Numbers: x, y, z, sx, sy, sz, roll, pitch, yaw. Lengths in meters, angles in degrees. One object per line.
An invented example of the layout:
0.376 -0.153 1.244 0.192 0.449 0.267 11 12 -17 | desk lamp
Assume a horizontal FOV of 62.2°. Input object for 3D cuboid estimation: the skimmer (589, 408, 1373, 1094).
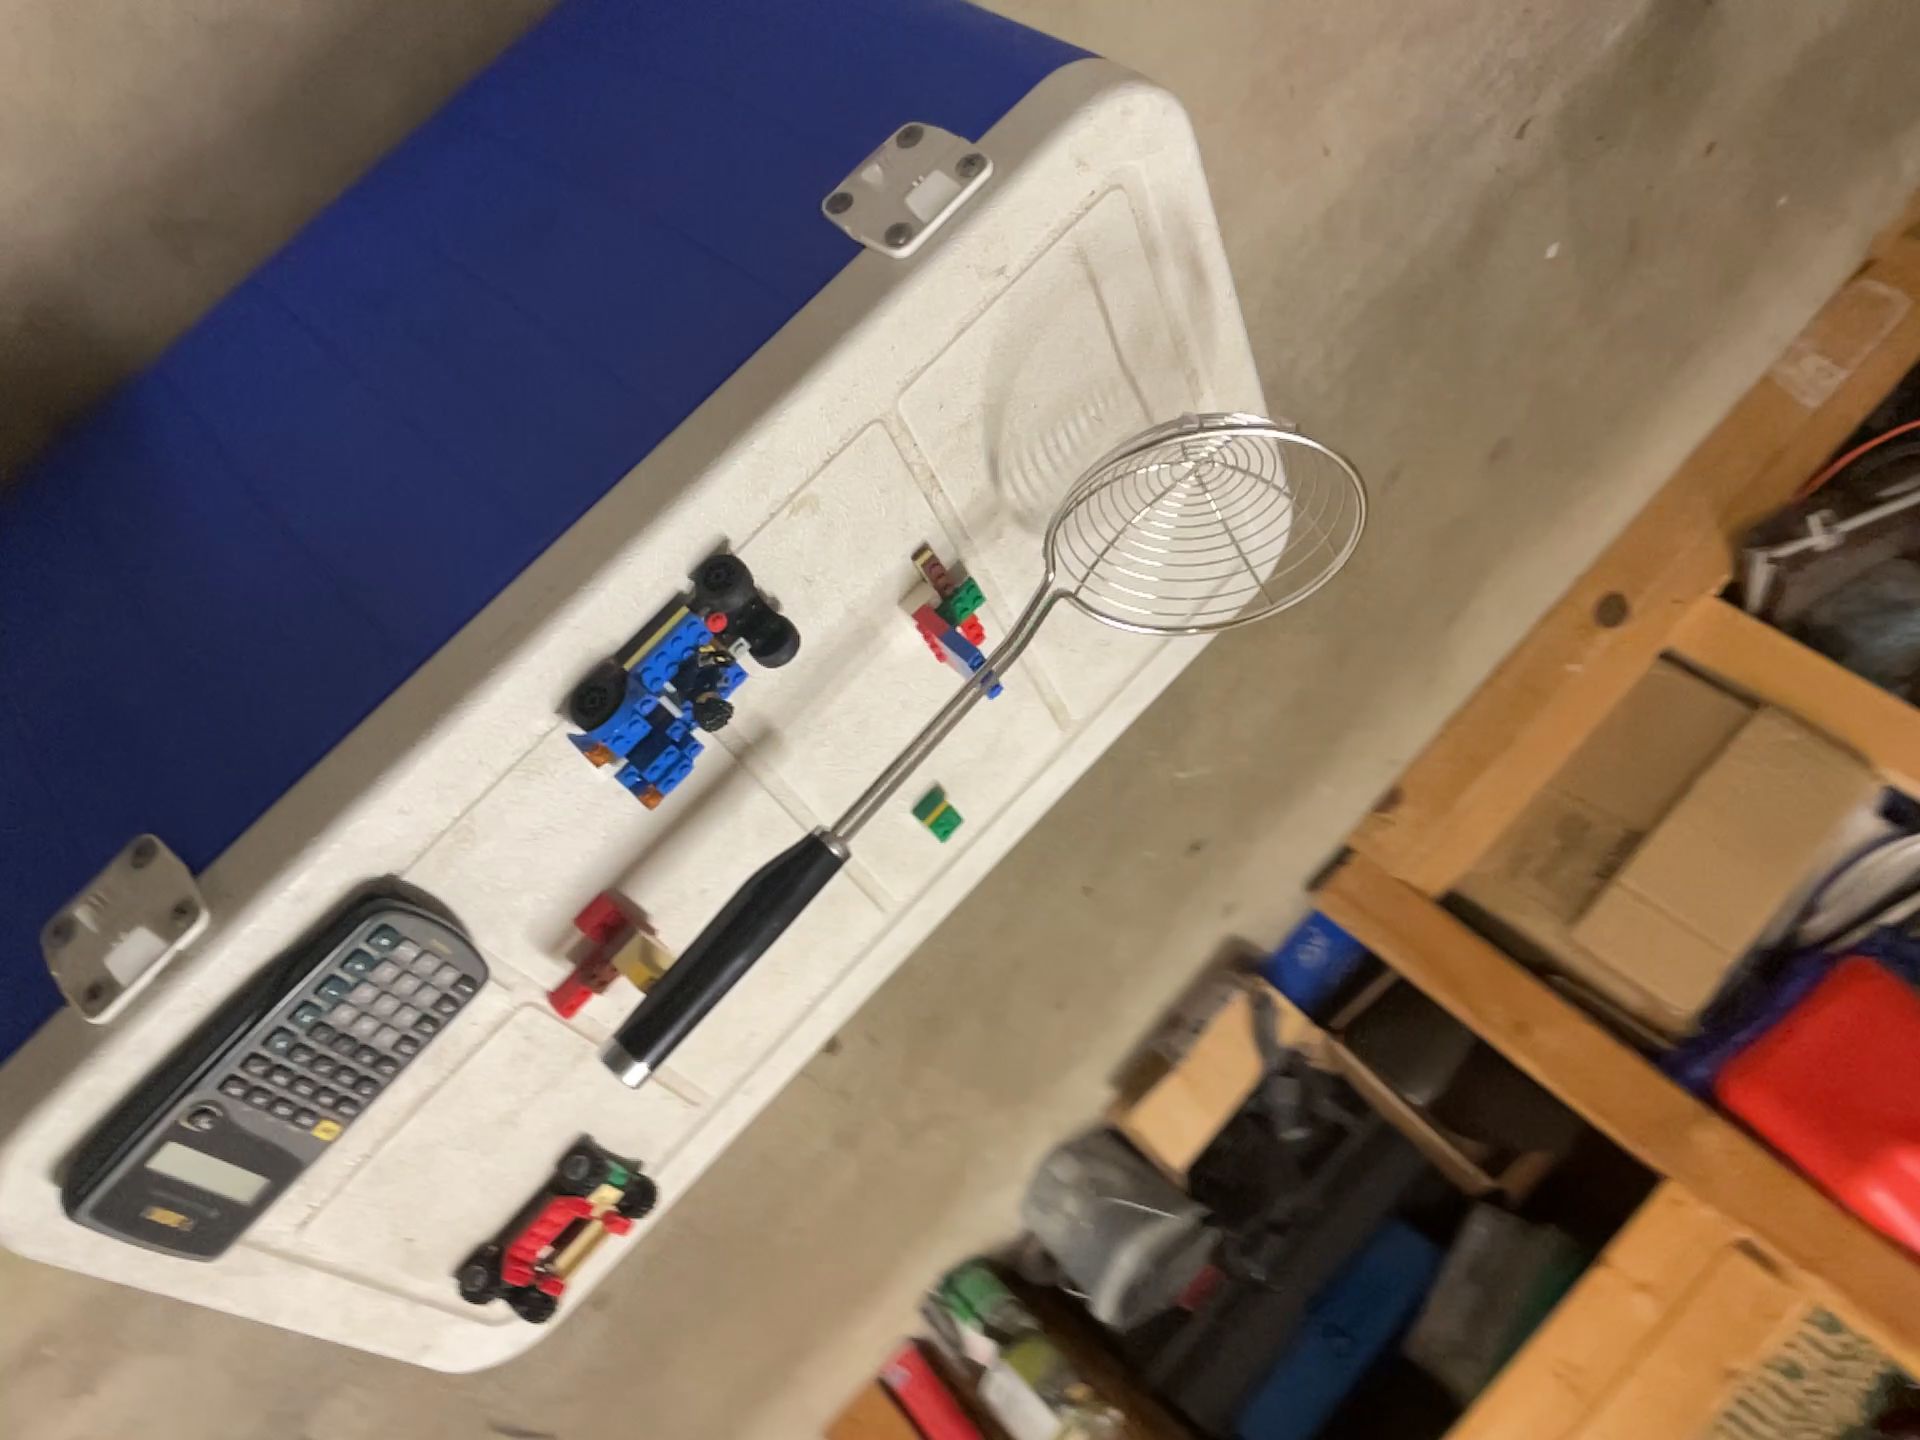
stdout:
0.007 0.019 0.614 0.363 0.090 0.127 -47 143 -8 | skimmer
